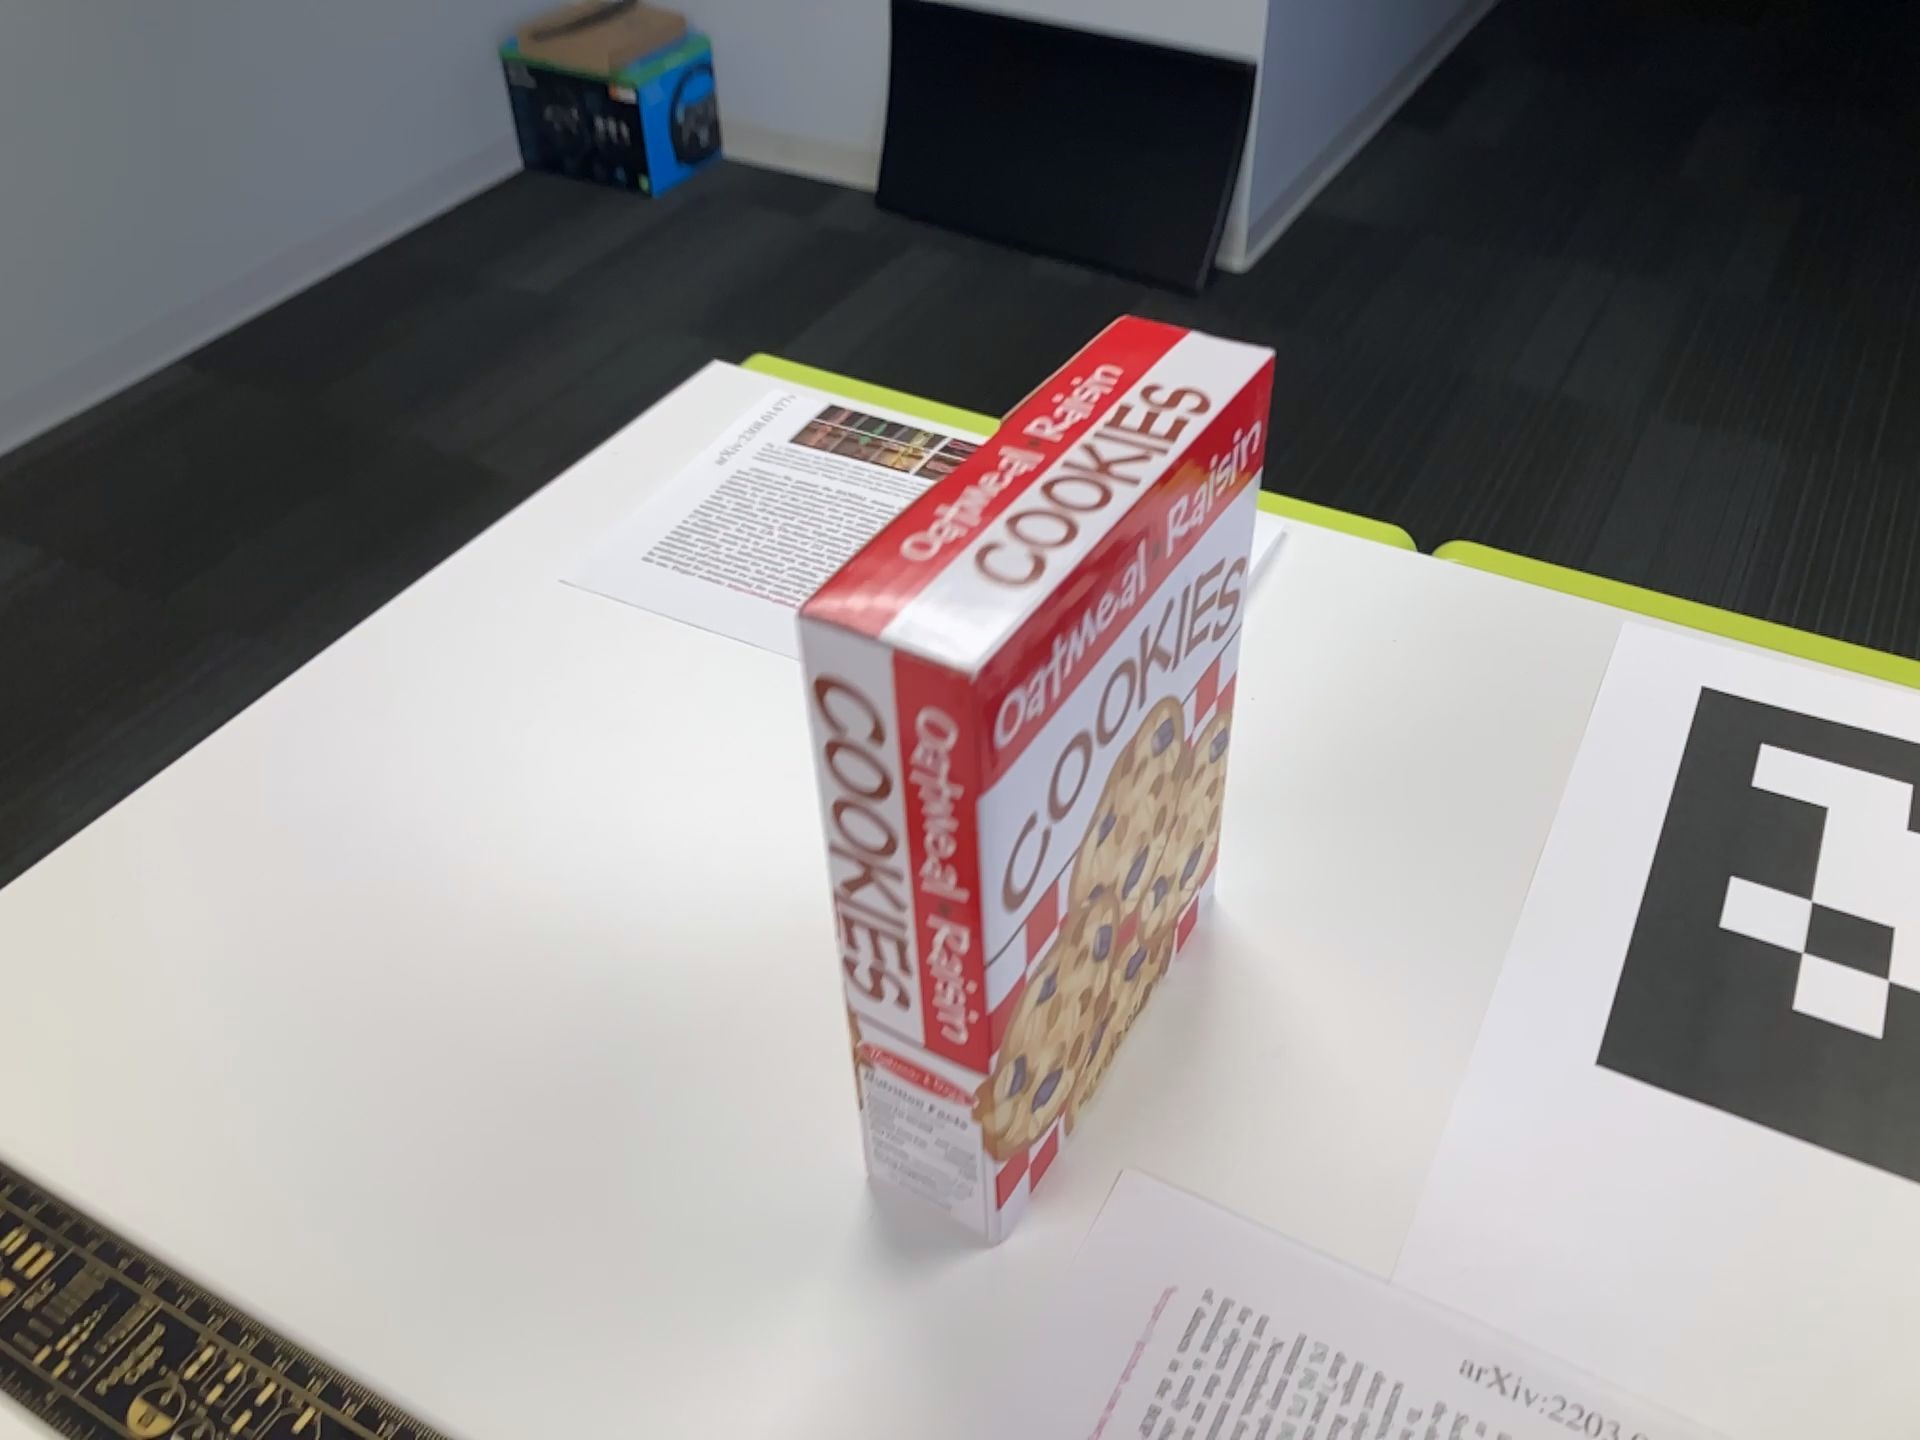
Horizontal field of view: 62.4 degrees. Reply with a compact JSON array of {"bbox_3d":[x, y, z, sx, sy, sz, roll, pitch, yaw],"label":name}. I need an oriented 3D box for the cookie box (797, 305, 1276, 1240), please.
[{"bbox_3d":[0.020,0.014,0.349,0.040,0.167,0.123,20,46,24],"label":"cookie box"}]
